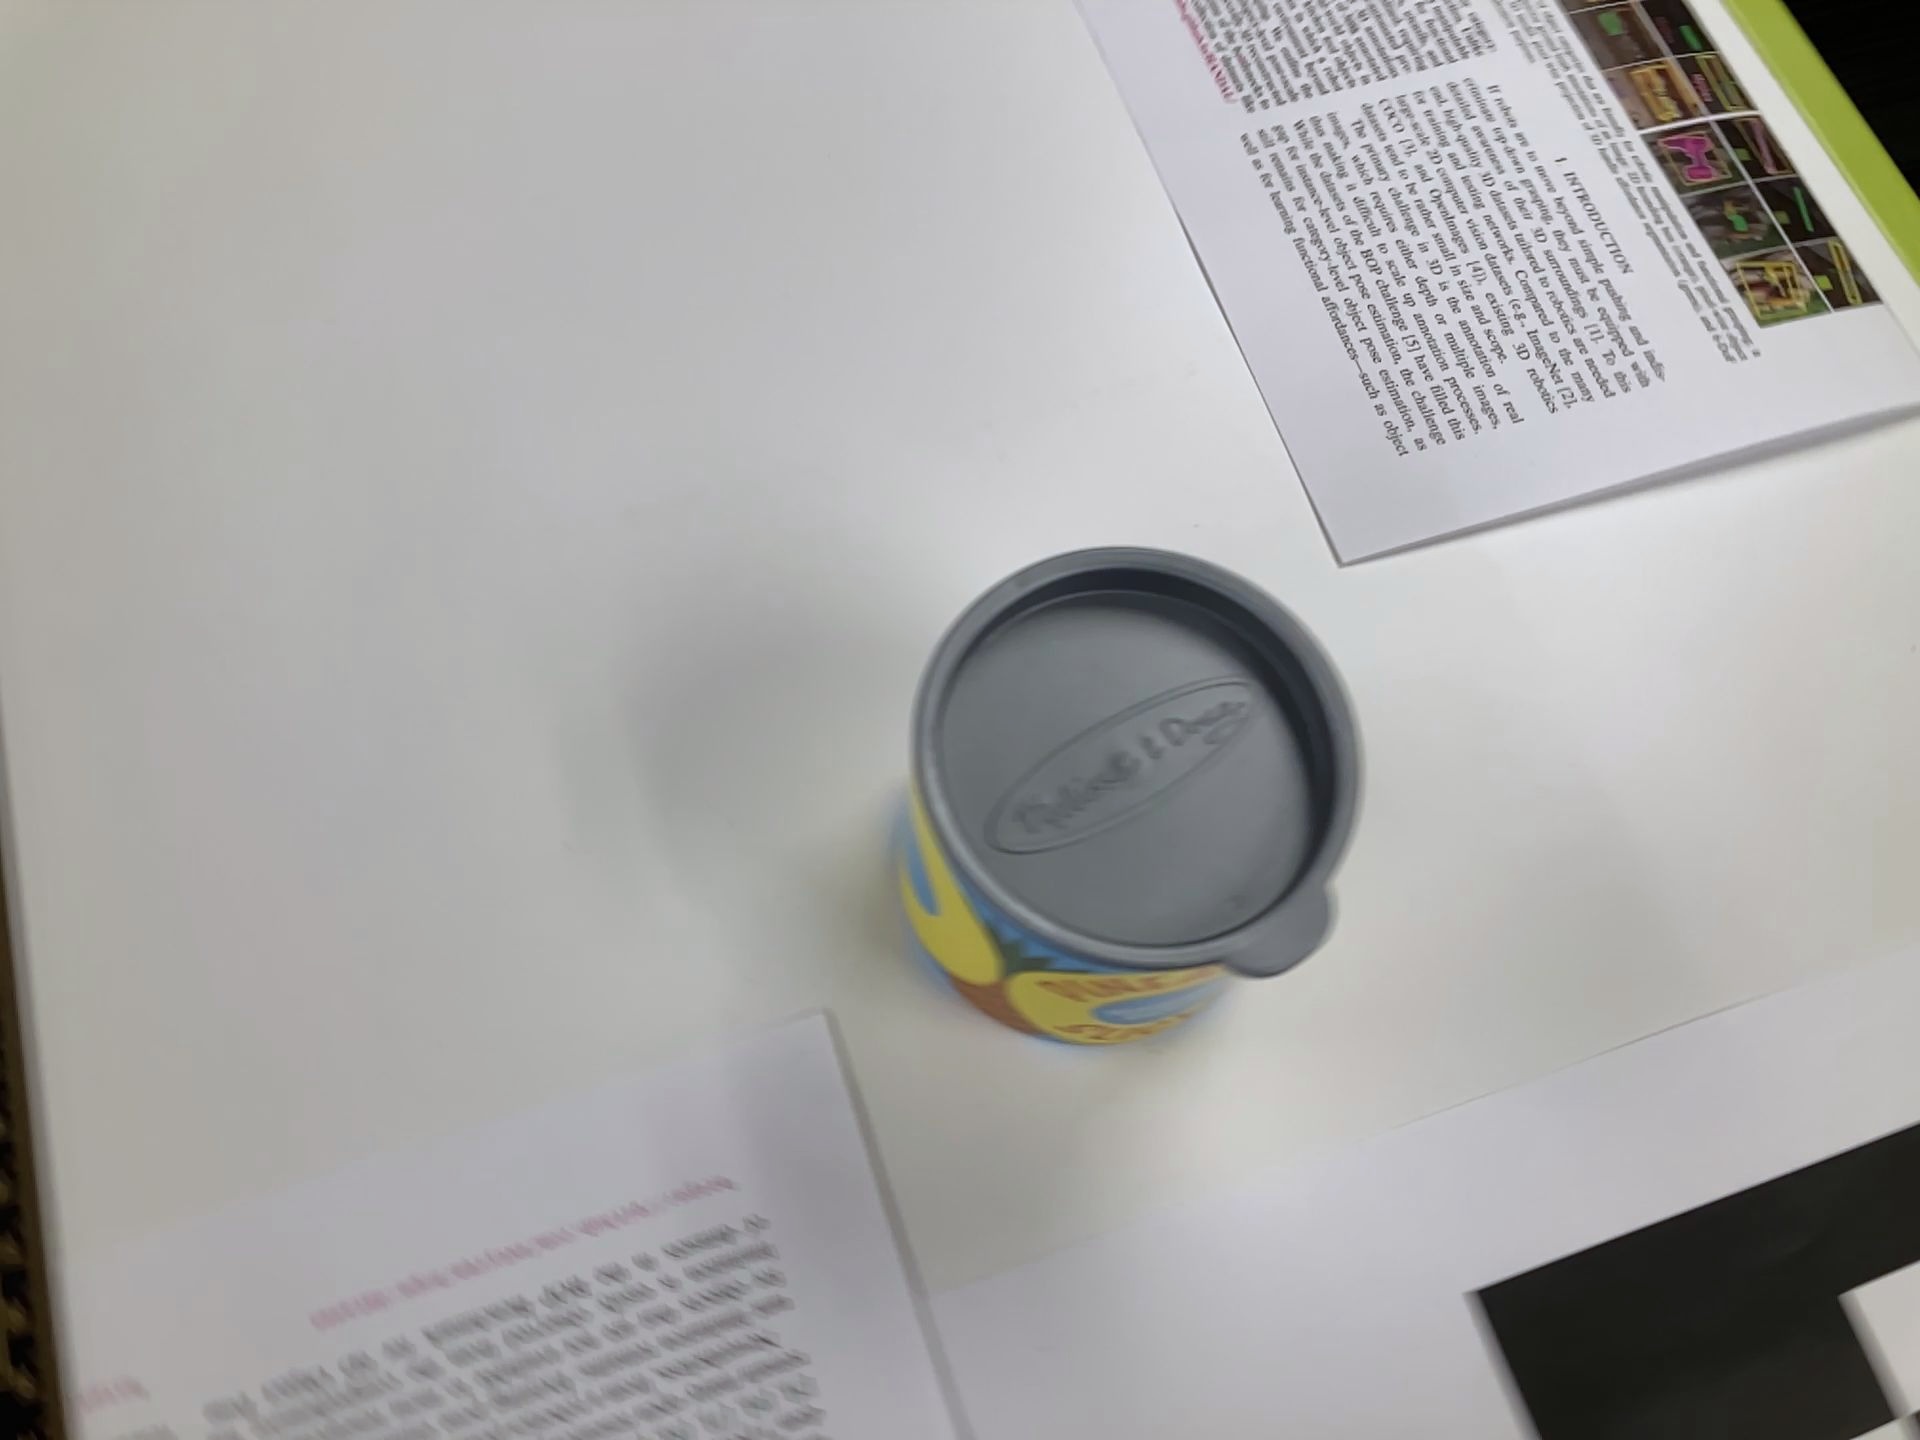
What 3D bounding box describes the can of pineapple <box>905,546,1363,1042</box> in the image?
[{"bbox_3d":[0.025,0.016,0.256,0.071,0.058,0.071,1,67,-3],"label":"can of pineapple"}]
